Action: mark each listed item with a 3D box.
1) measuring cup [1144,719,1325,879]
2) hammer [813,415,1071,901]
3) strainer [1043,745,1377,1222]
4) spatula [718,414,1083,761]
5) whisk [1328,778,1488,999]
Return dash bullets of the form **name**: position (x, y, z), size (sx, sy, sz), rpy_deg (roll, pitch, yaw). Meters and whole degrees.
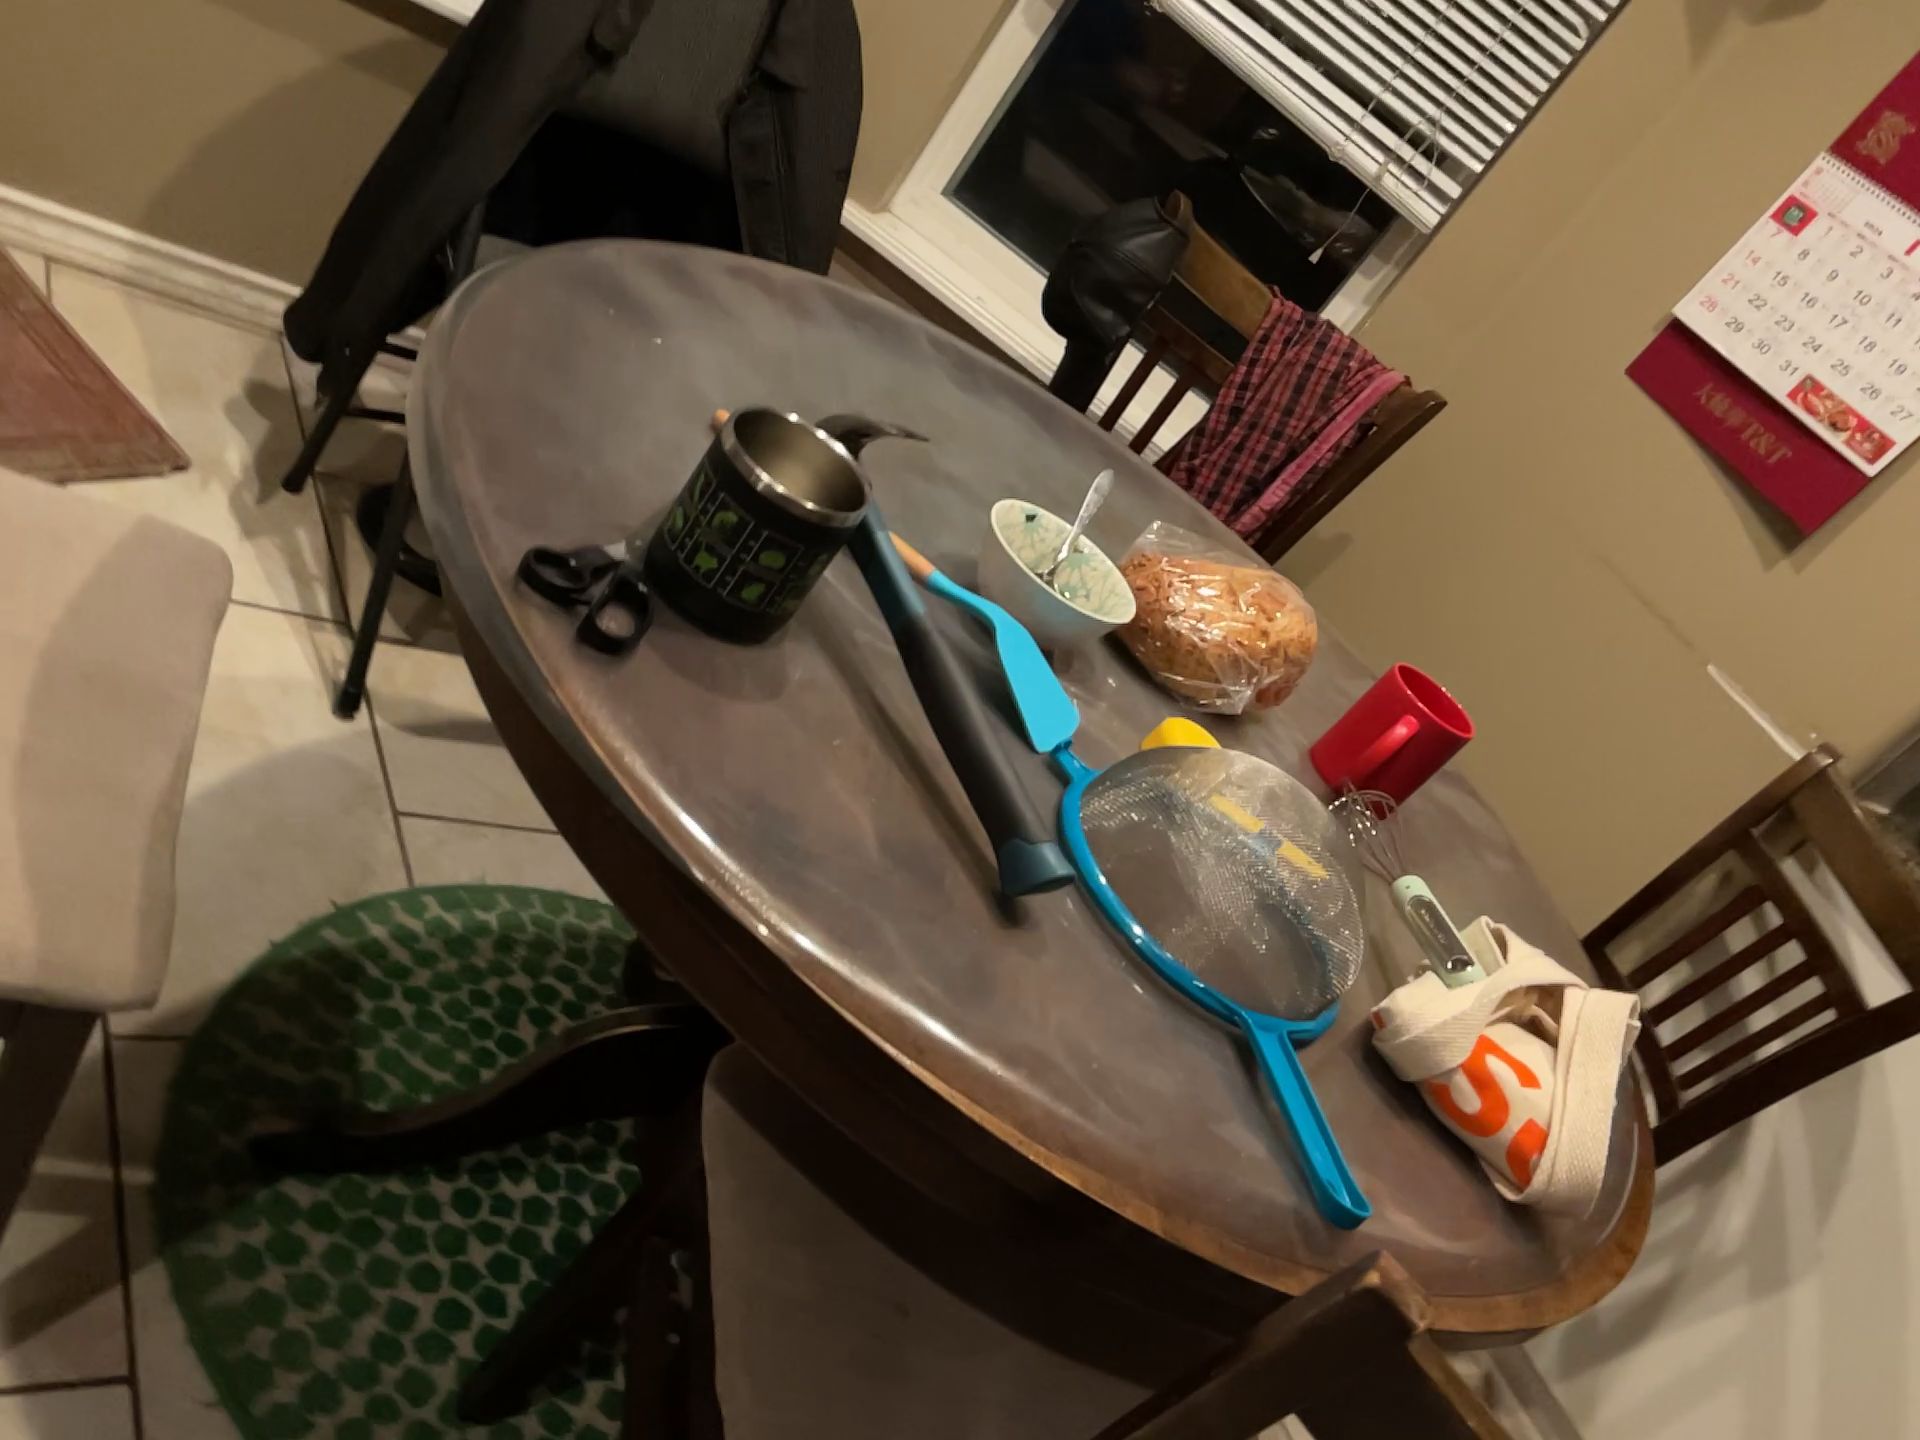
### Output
- **measuring cup**: position (0.197, 0.054, 1.101), size (0.156, 0.029, 0.062), rpy_deg (37, 27, -1)
- **hammer**: position (-0.024, -0.039, 0.916), size (0.033, 0.128, 0.331), rpy_deg (1, 54, -46)
- **strainer**: position (0.181, 0.120, 0.913), size (0.211, 0.095, 0.341), rpy_deg (23, 27, -27)
- **spatula**: position (-0.042, -0.095, 1.051), size (0.317, 0.044, 0.082), rpy_deg (39, 28, 9)
- **whisk**: position (0.303, 0.112, 1.093), size (0.059, 0.058, 0.246), rpy_deg (61, 7, -27)
